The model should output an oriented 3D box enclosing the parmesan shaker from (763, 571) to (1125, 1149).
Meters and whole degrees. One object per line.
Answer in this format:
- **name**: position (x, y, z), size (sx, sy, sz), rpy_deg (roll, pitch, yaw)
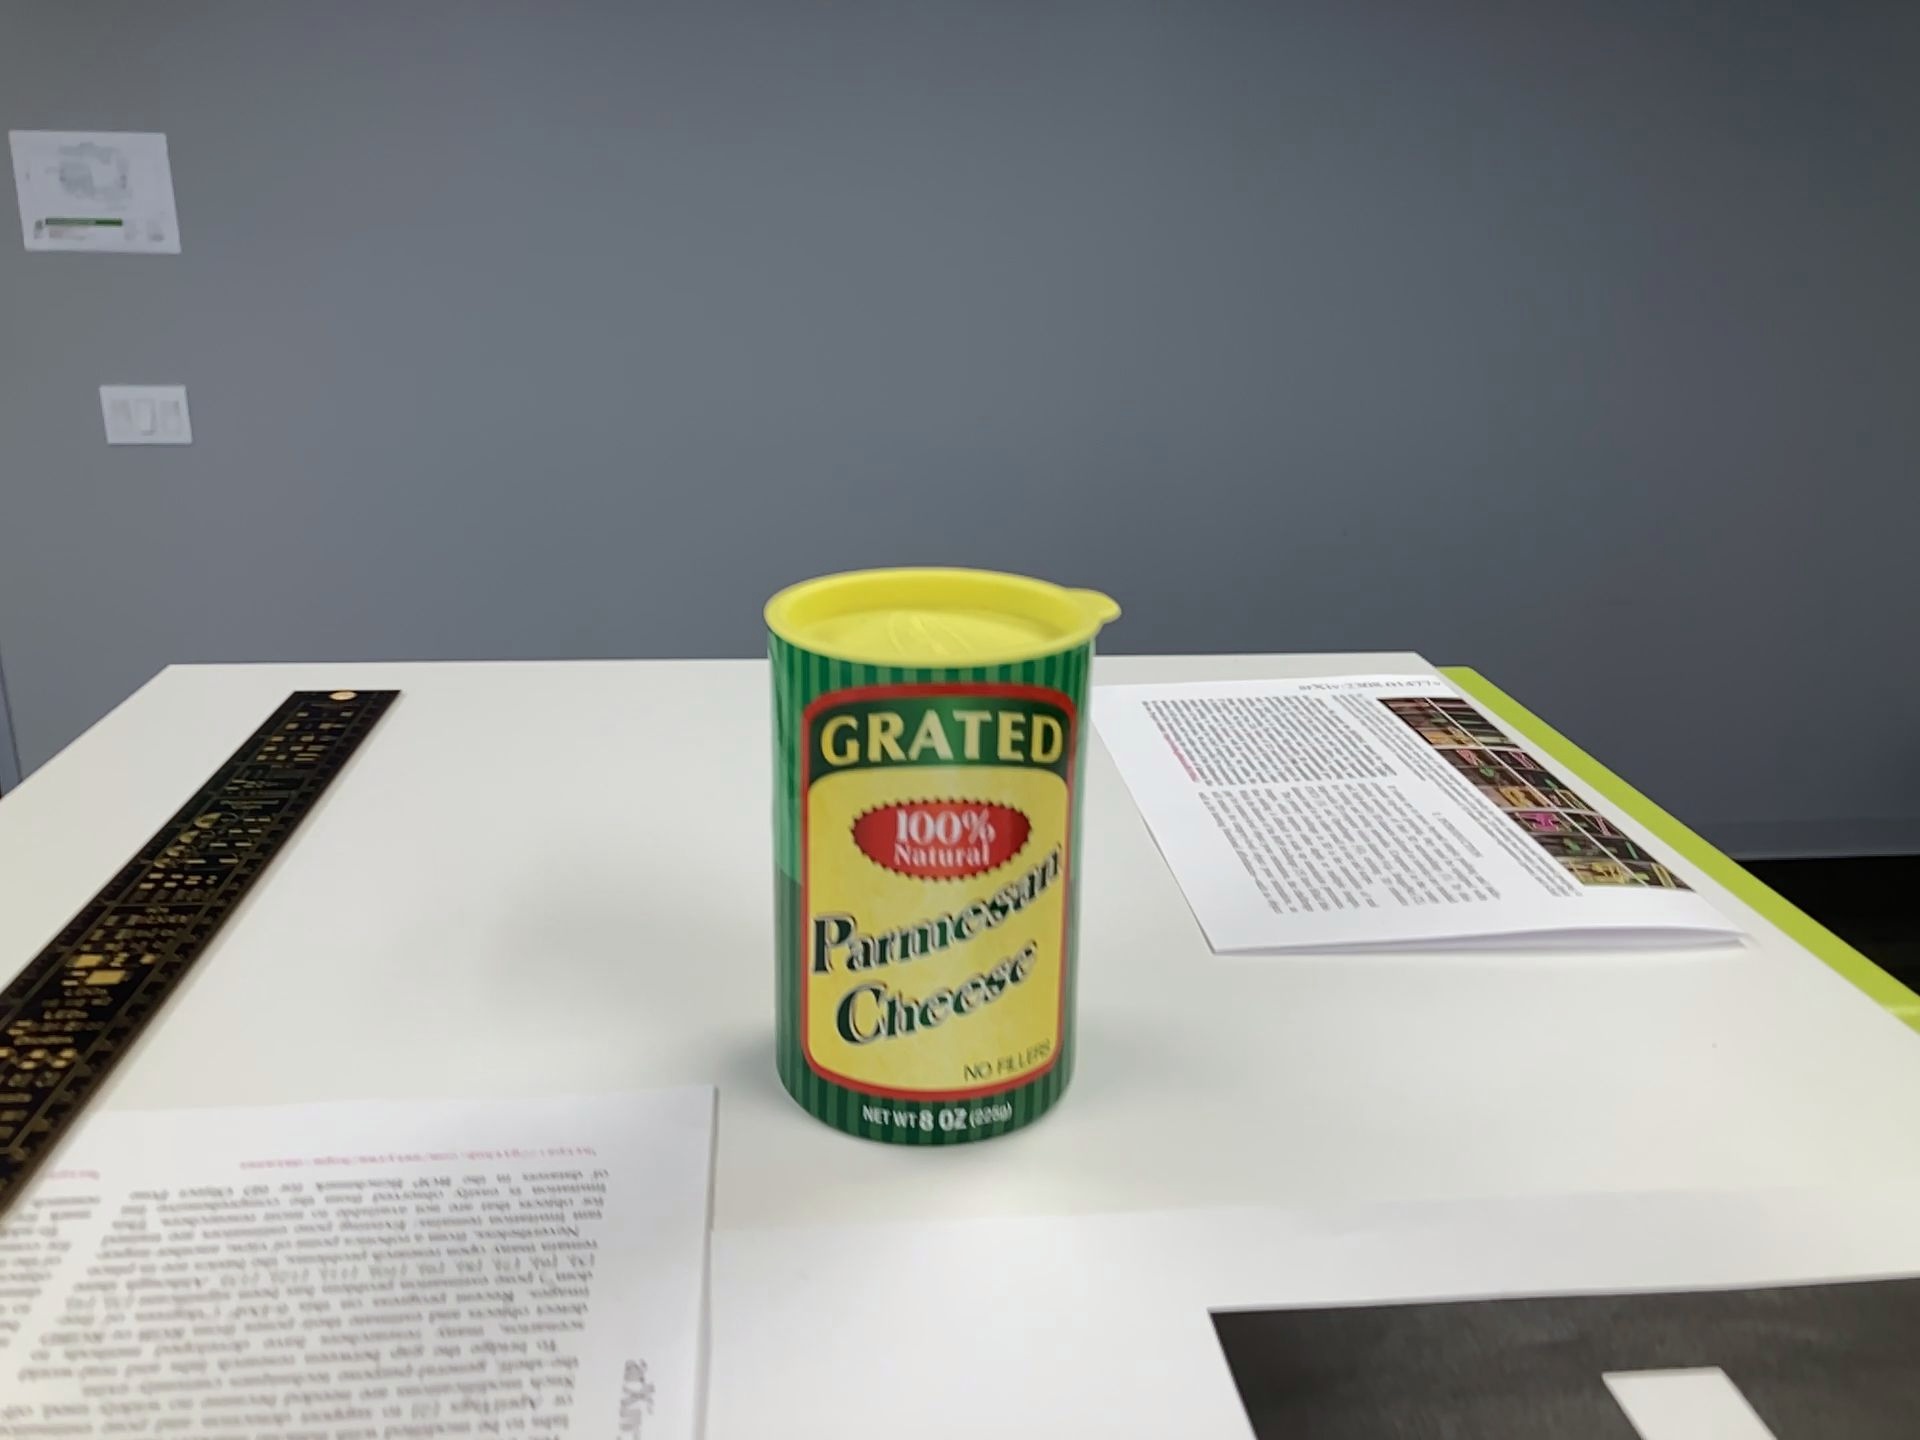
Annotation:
- **parmesan shaker**: position (-0.003, 0.027, 0.327), size (0.071, 0.103, 0.071), rpy_deg (1, 19, 0)
